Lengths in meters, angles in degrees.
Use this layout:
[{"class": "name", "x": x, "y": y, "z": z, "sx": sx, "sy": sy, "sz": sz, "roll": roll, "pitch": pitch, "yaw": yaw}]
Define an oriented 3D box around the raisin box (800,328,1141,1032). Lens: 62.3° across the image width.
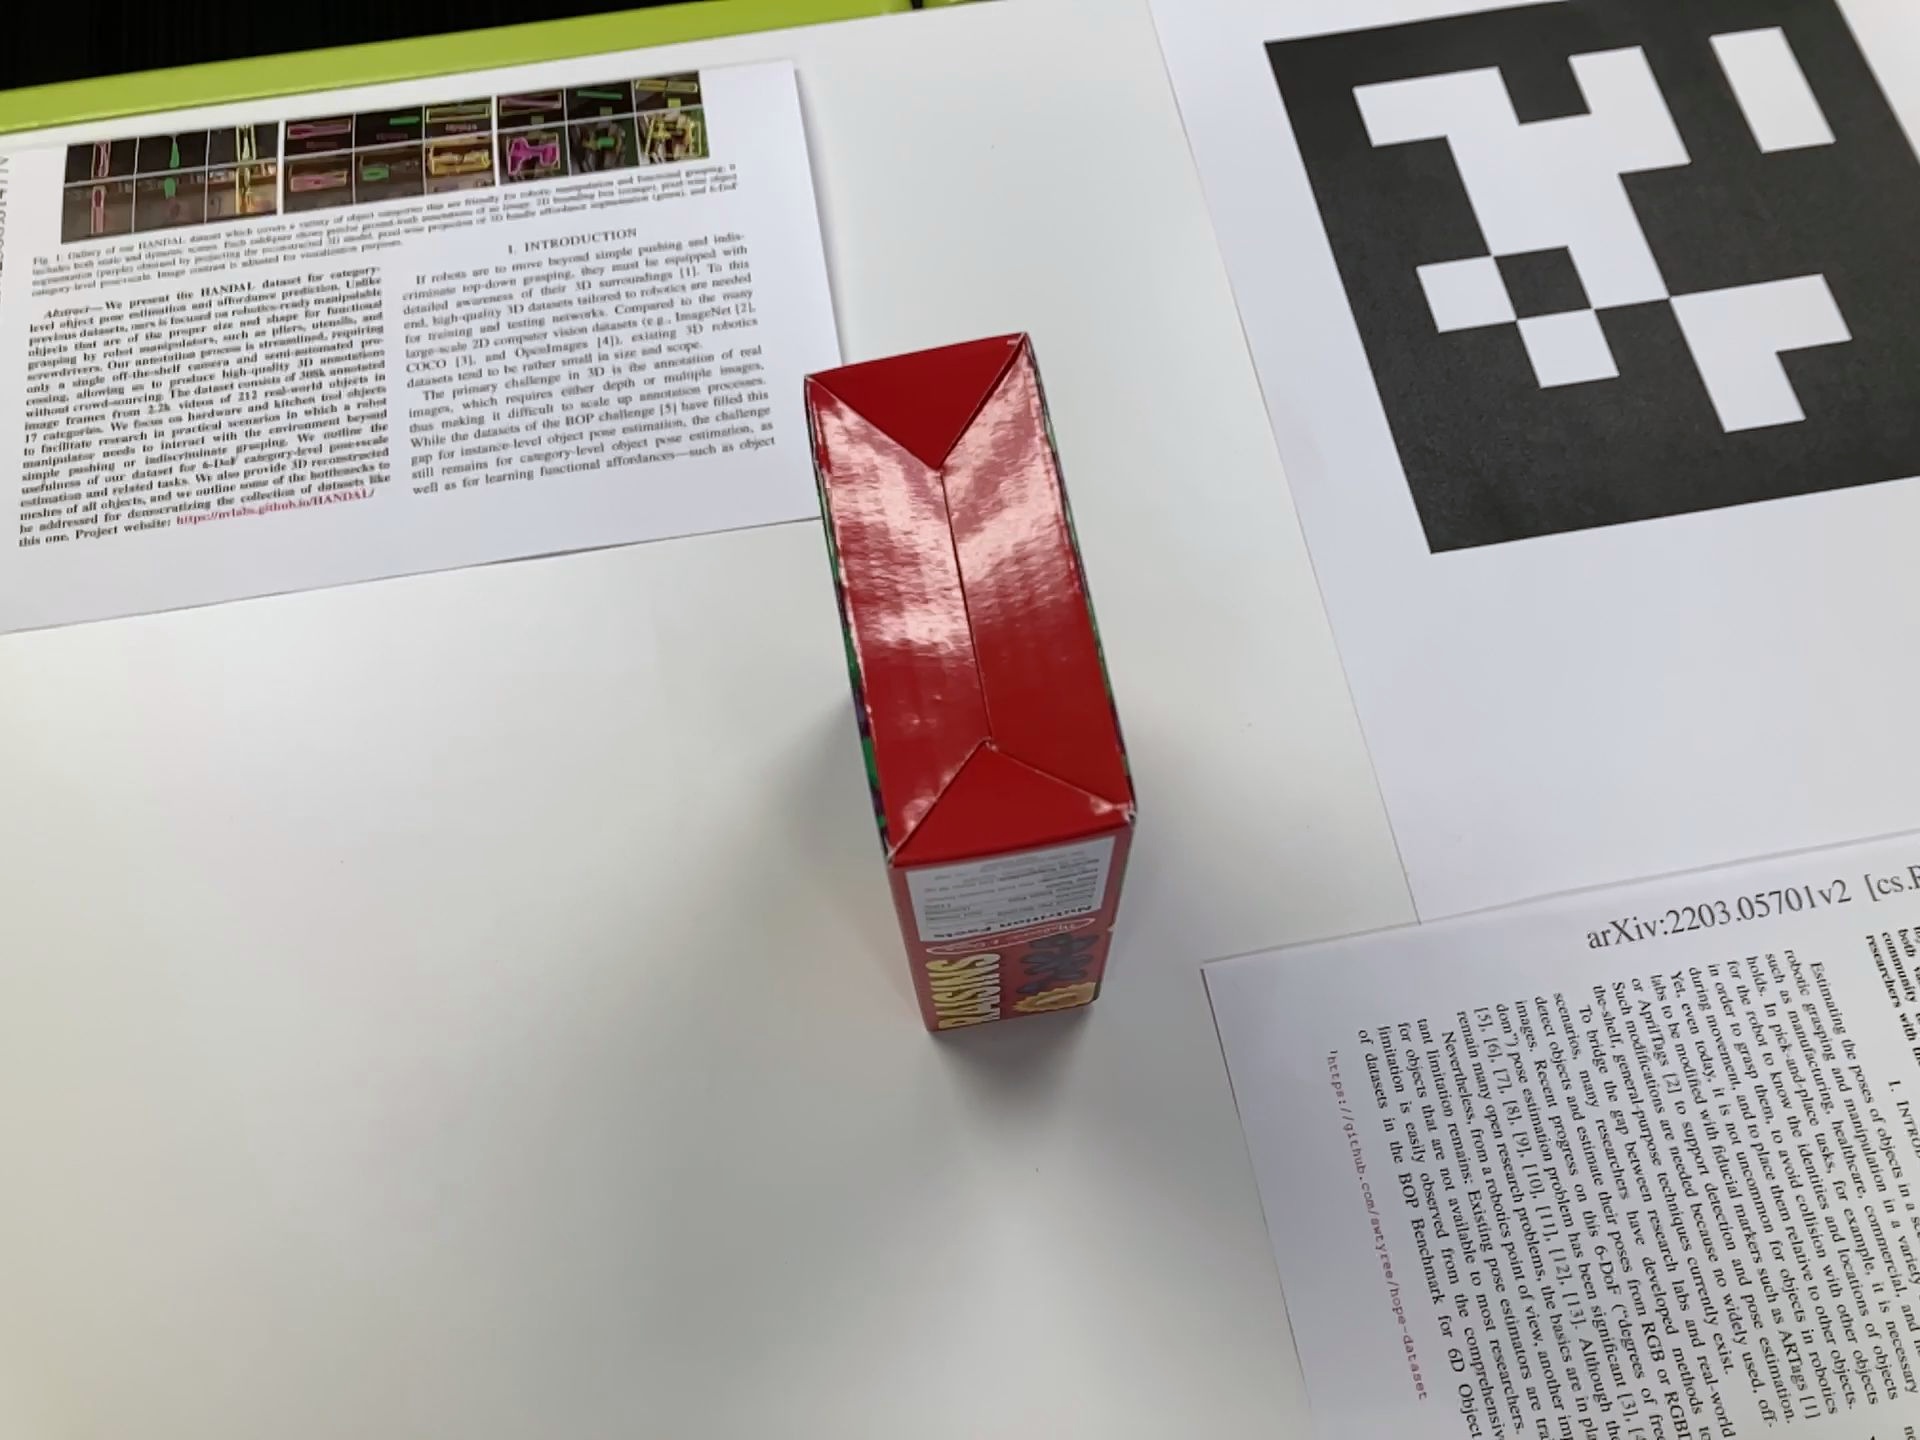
[{"class": "raisin box", "x": 0.003, "y": 0.001, "z": 0.291, "sx": 0.040, "sy": 0.123, "sz": 0.086, "roll": -11, "pitch": 68, "yaw": -3}]
